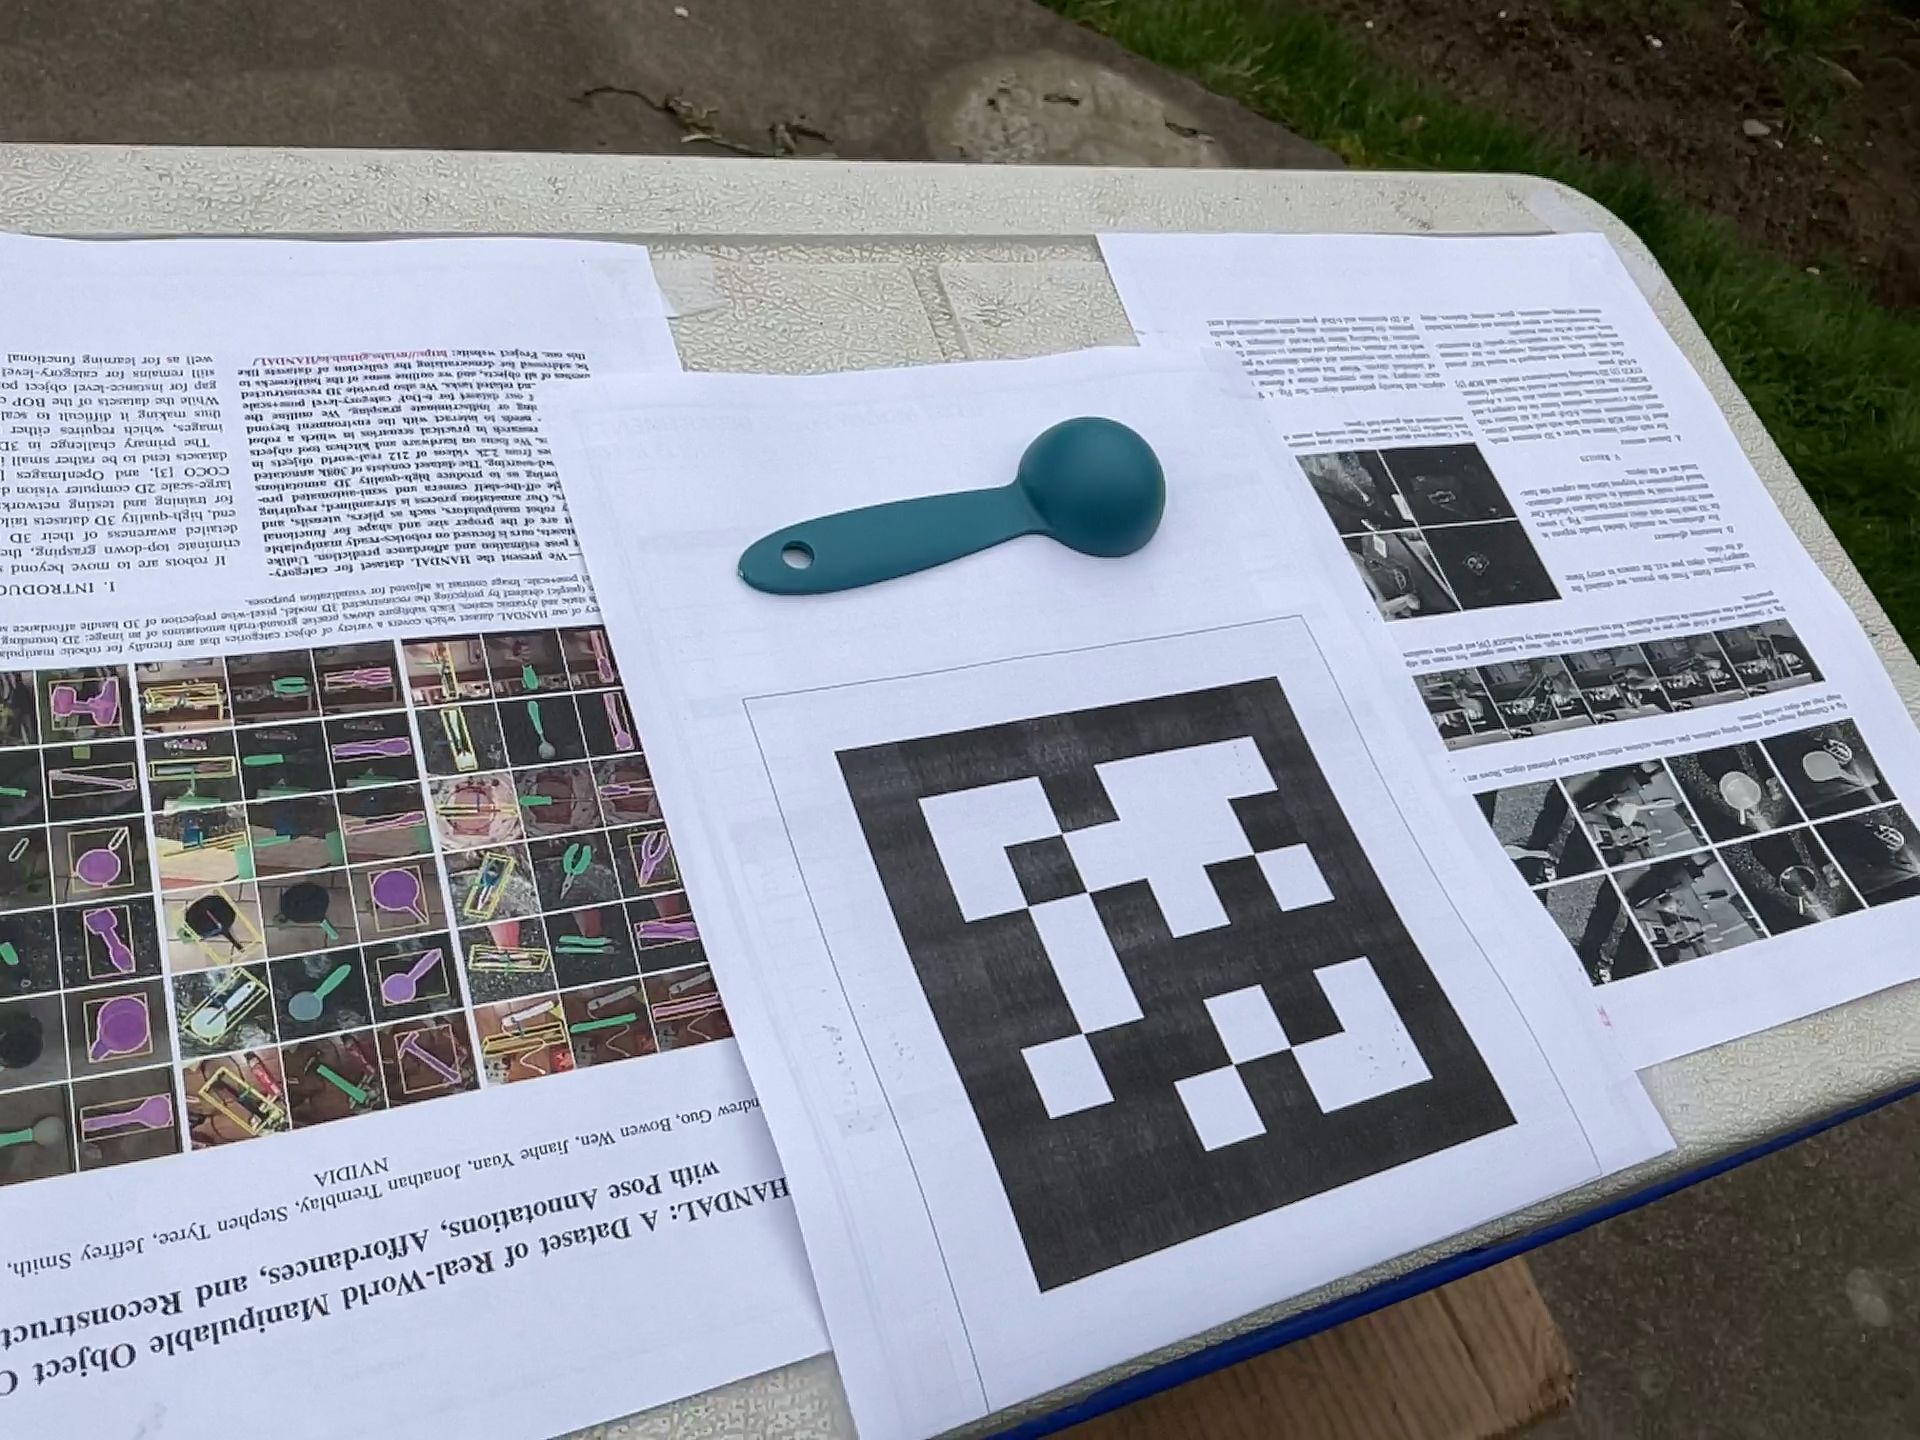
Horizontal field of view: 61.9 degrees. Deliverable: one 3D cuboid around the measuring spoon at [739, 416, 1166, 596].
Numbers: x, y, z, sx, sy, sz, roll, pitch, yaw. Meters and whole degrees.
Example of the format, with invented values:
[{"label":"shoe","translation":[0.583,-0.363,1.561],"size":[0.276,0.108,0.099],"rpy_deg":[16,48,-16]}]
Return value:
[{"label":"measuring spoon","translation":[0.003,-0.055,0.413],"size":[0.128,0.021,0.042],"rpy_deg":[-18,74,-30]}]
